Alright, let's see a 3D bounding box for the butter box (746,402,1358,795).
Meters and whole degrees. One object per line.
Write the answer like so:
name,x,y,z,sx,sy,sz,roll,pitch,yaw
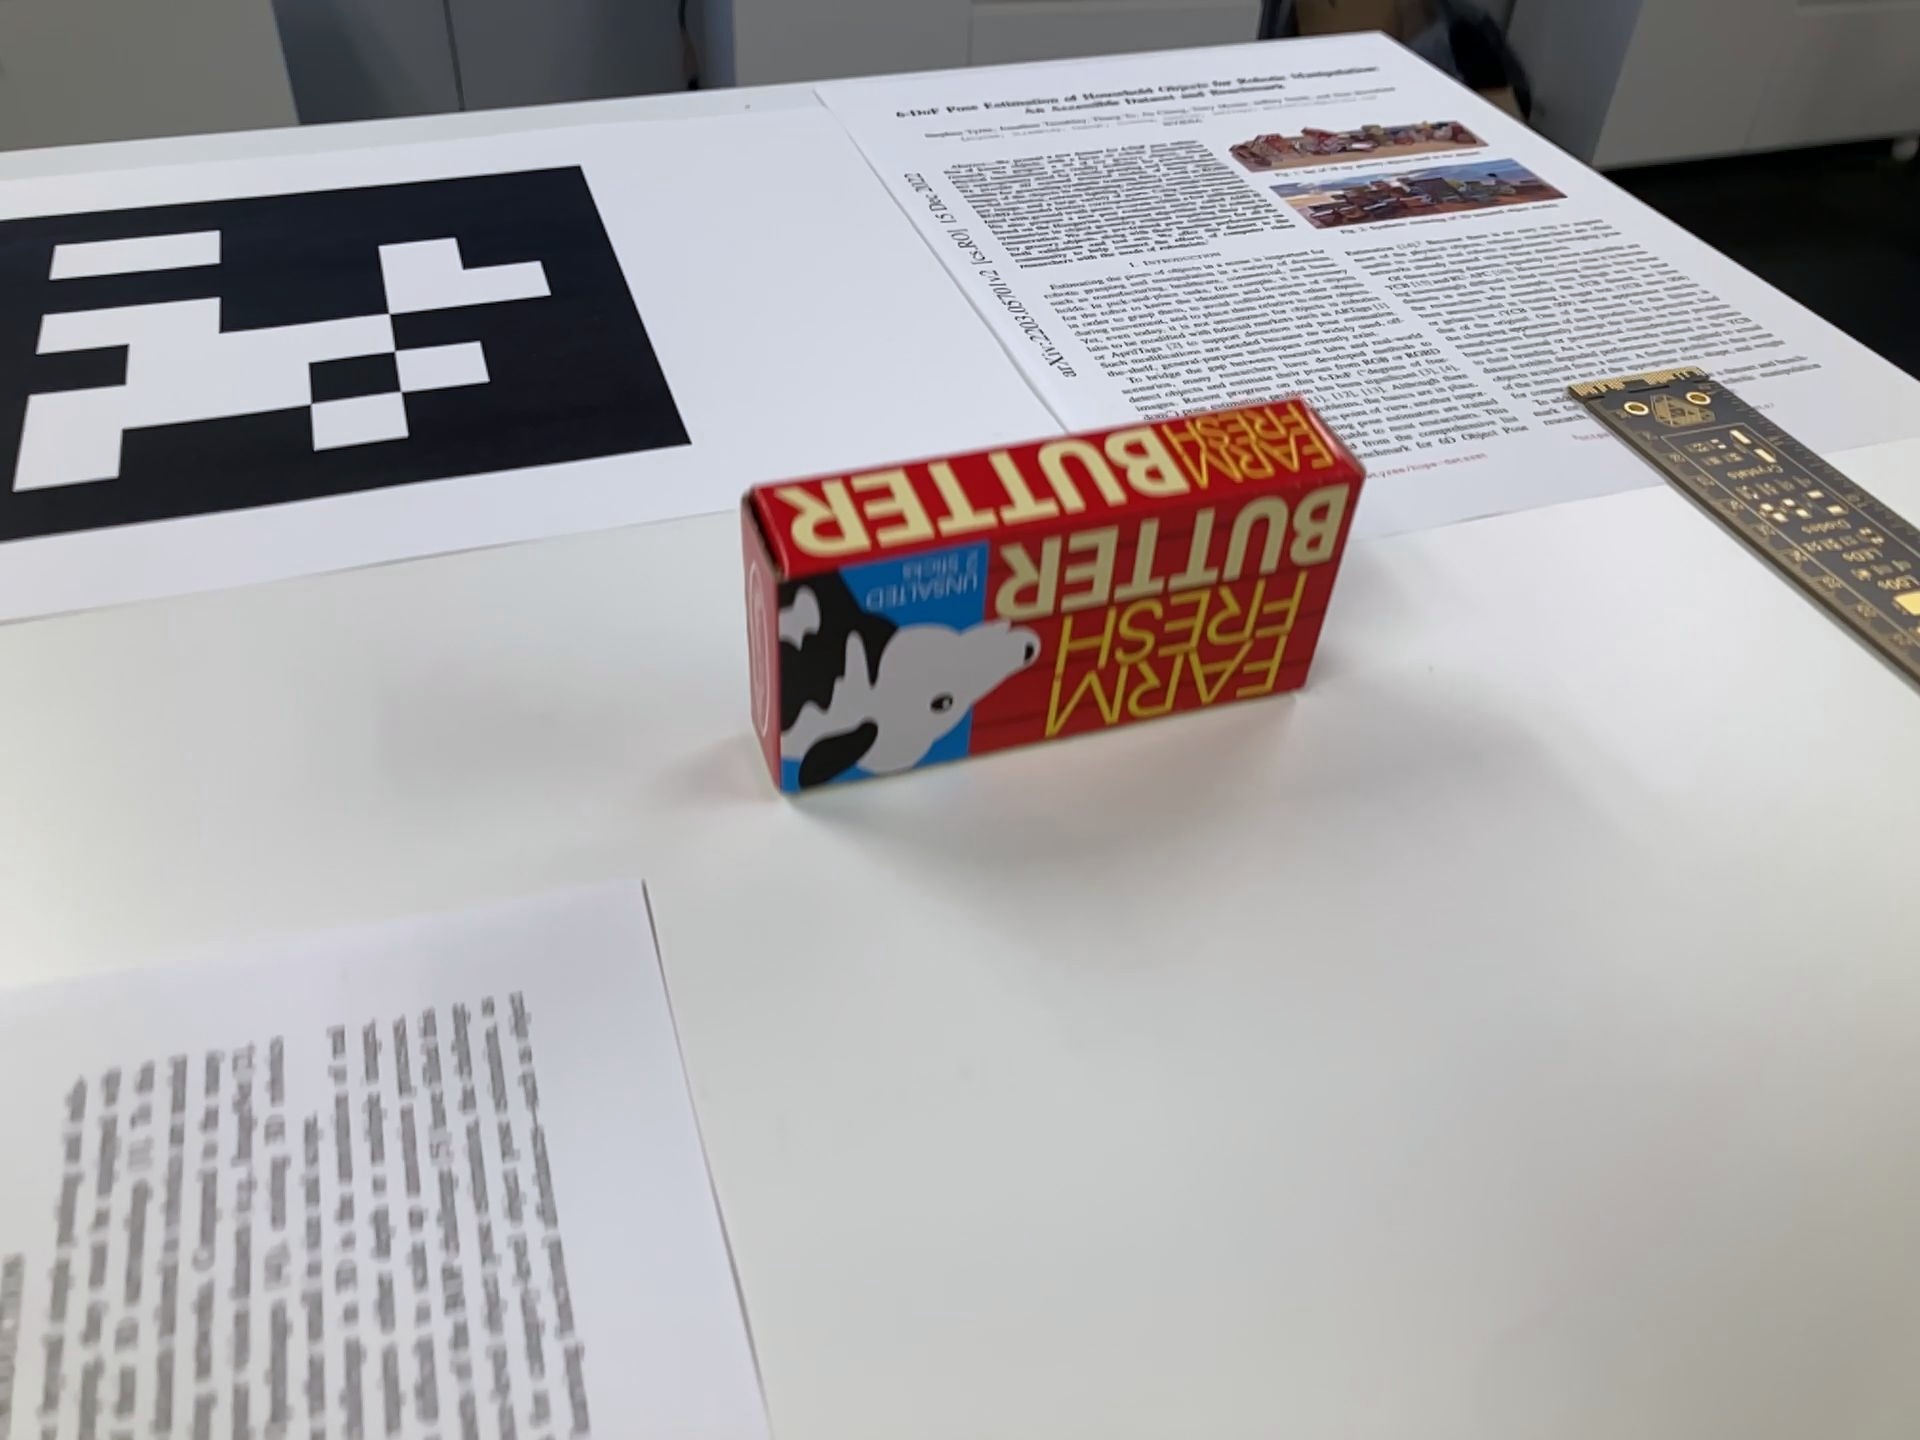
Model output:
butter box,0.015,-0.022,0.280,0.103,0.053,0.024,-12,48,-16
